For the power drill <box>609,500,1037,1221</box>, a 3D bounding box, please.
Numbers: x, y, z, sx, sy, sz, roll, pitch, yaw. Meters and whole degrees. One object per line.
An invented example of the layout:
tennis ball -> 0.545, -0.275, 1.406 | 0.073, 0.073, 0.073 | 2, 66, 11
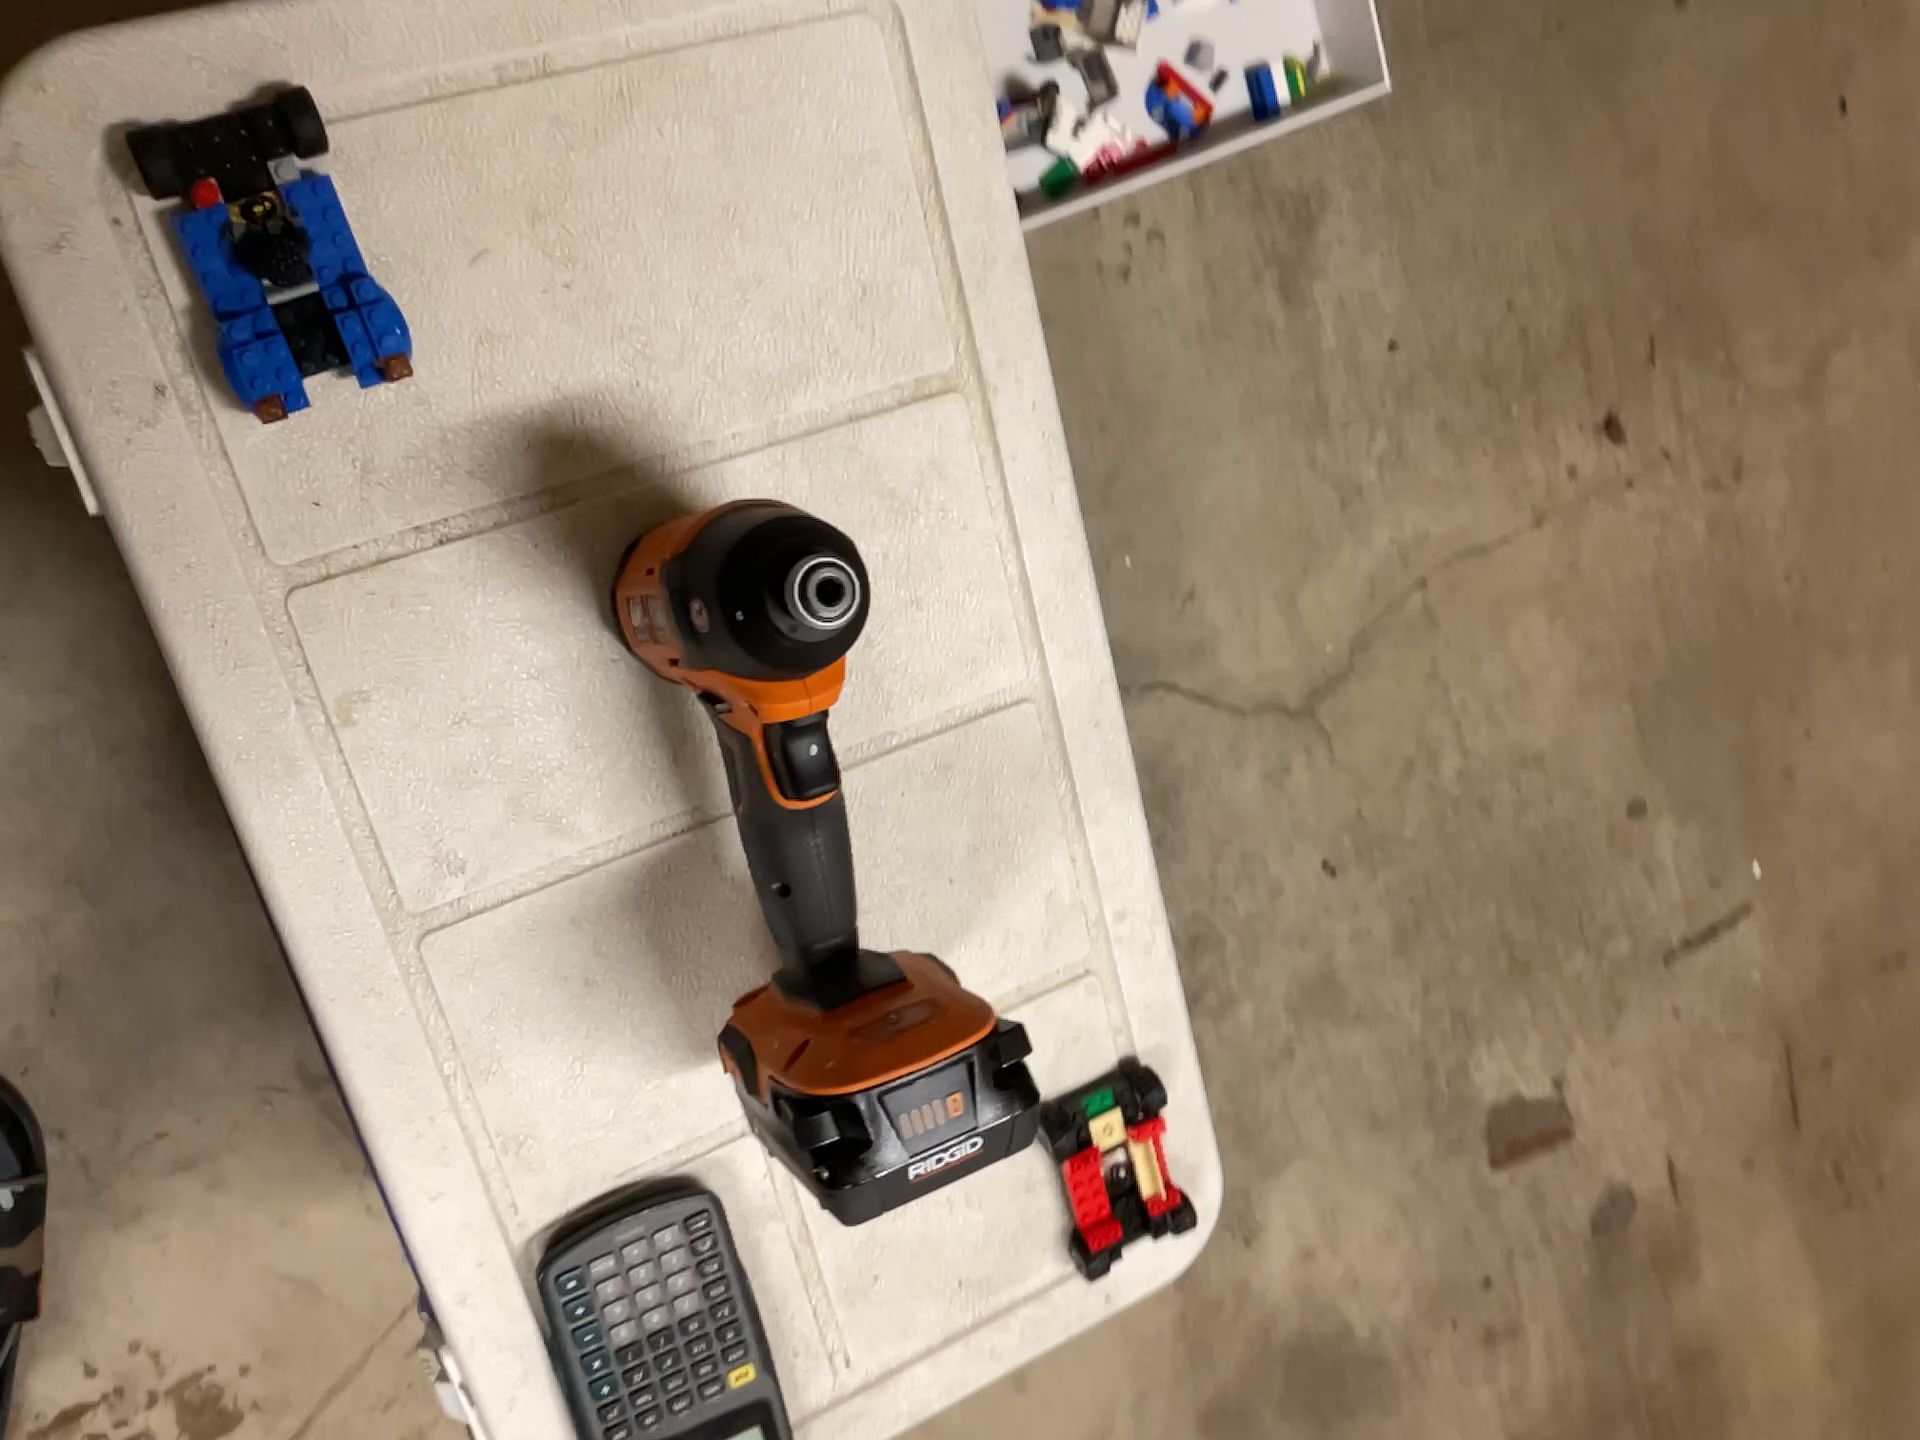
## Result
power drill -> -0.048, 0.039, 0.526 | 0.084, 0.164, 0.226 | -18, 98, -21
